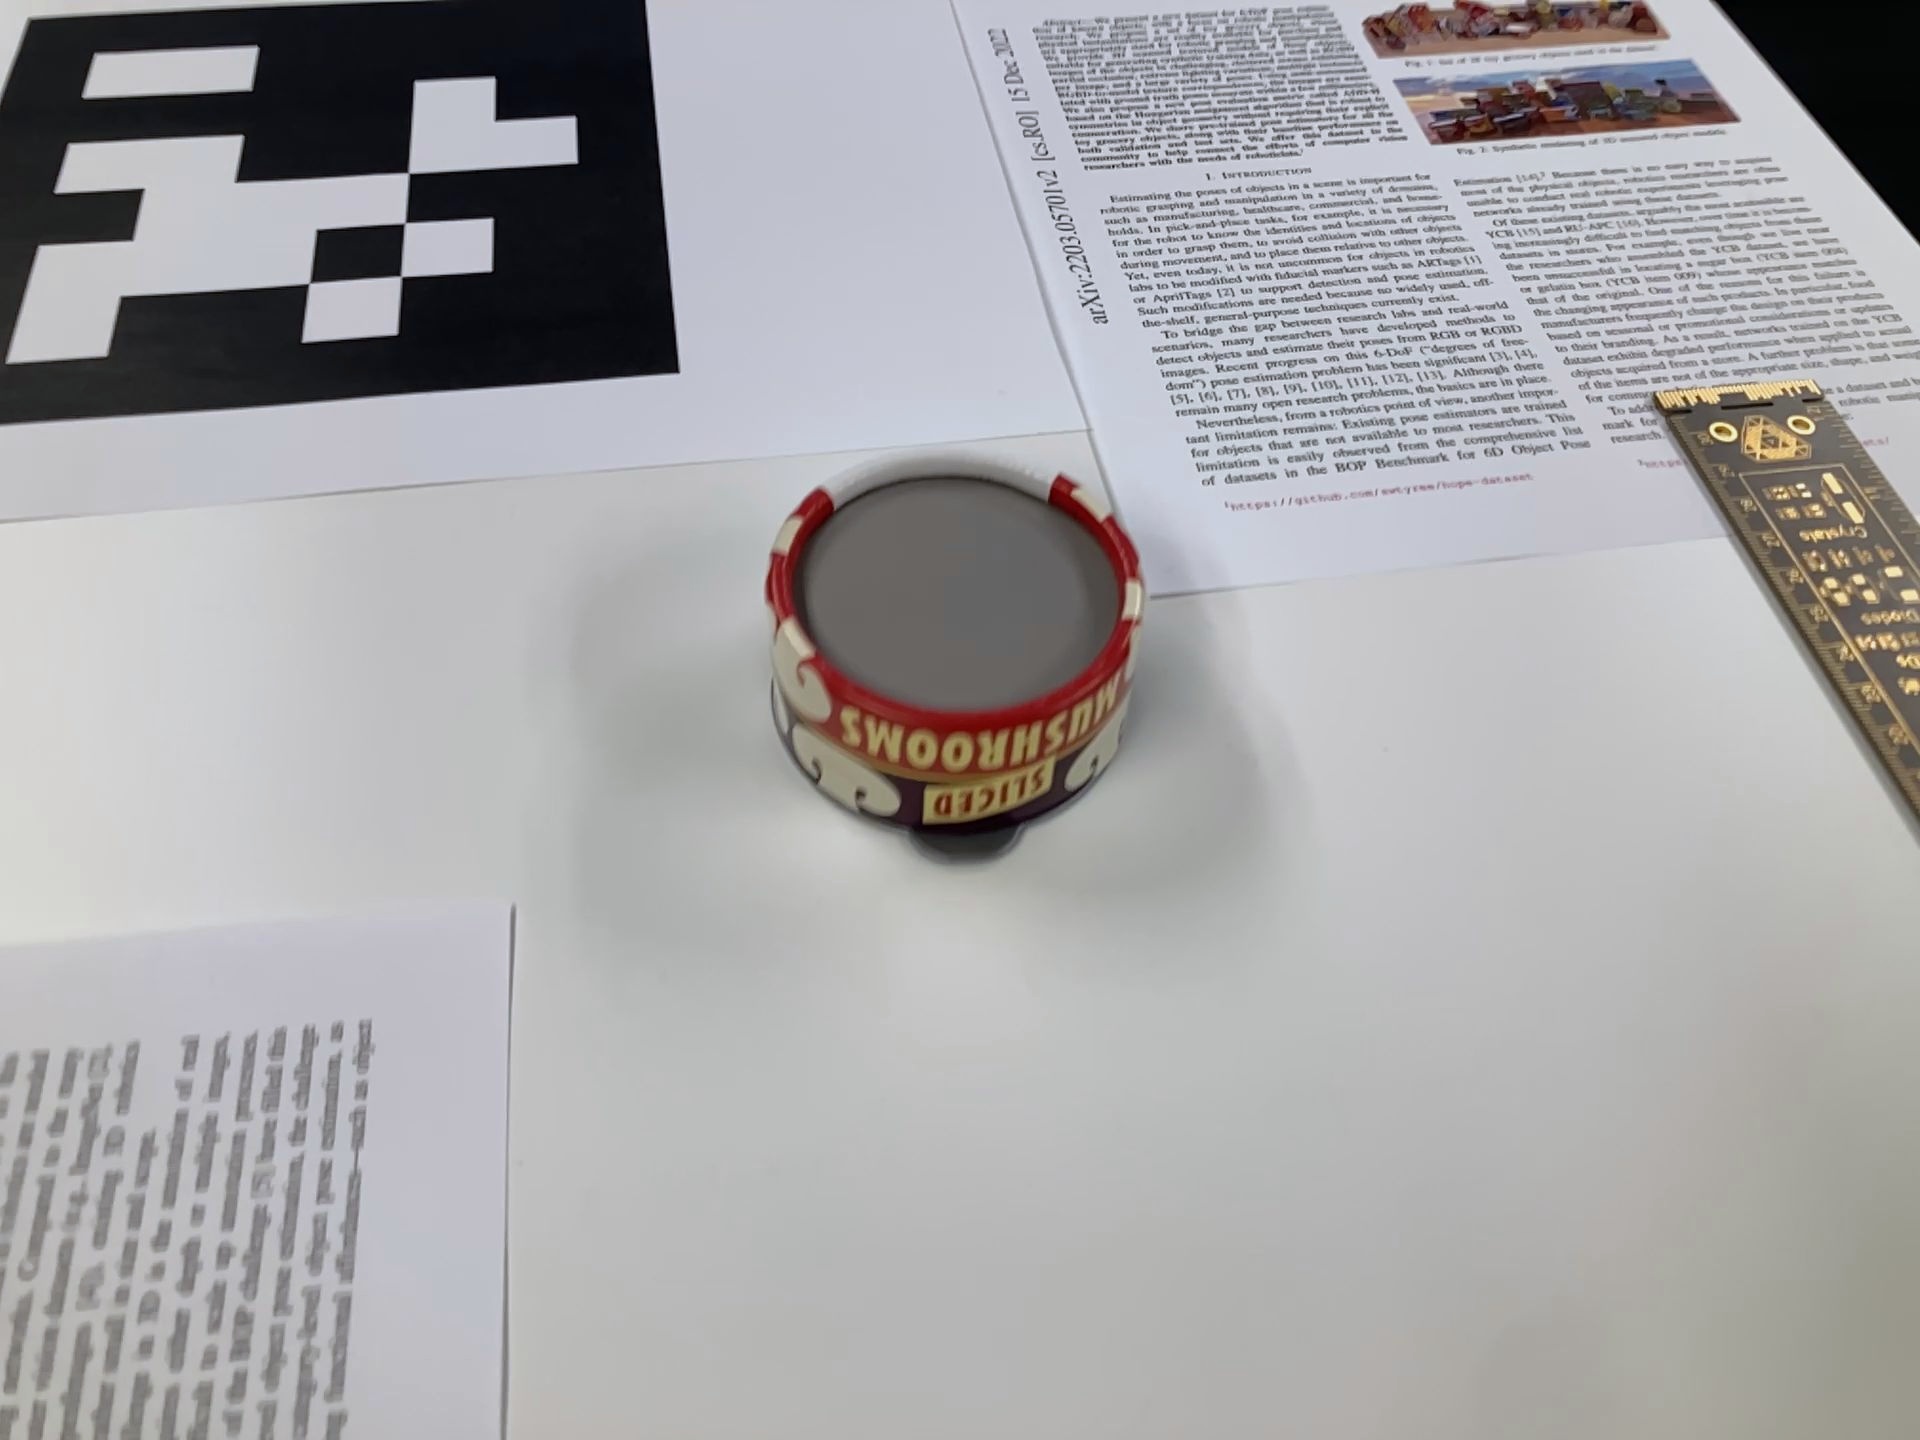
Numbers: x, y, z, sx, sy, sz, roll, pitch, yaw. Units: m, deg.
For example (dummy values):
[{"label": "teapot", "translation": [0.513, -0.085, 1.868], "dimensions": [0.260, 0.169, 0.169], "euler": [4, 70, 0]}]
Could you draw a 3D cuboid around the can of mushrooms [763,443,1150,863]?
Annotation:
[{"label": "can of mushrooms", "translation": [-0.001, -0.013, 0.277], "dimensions": [0.071, 0.033, 0.071], "euler": [2, 53, -3]}]
